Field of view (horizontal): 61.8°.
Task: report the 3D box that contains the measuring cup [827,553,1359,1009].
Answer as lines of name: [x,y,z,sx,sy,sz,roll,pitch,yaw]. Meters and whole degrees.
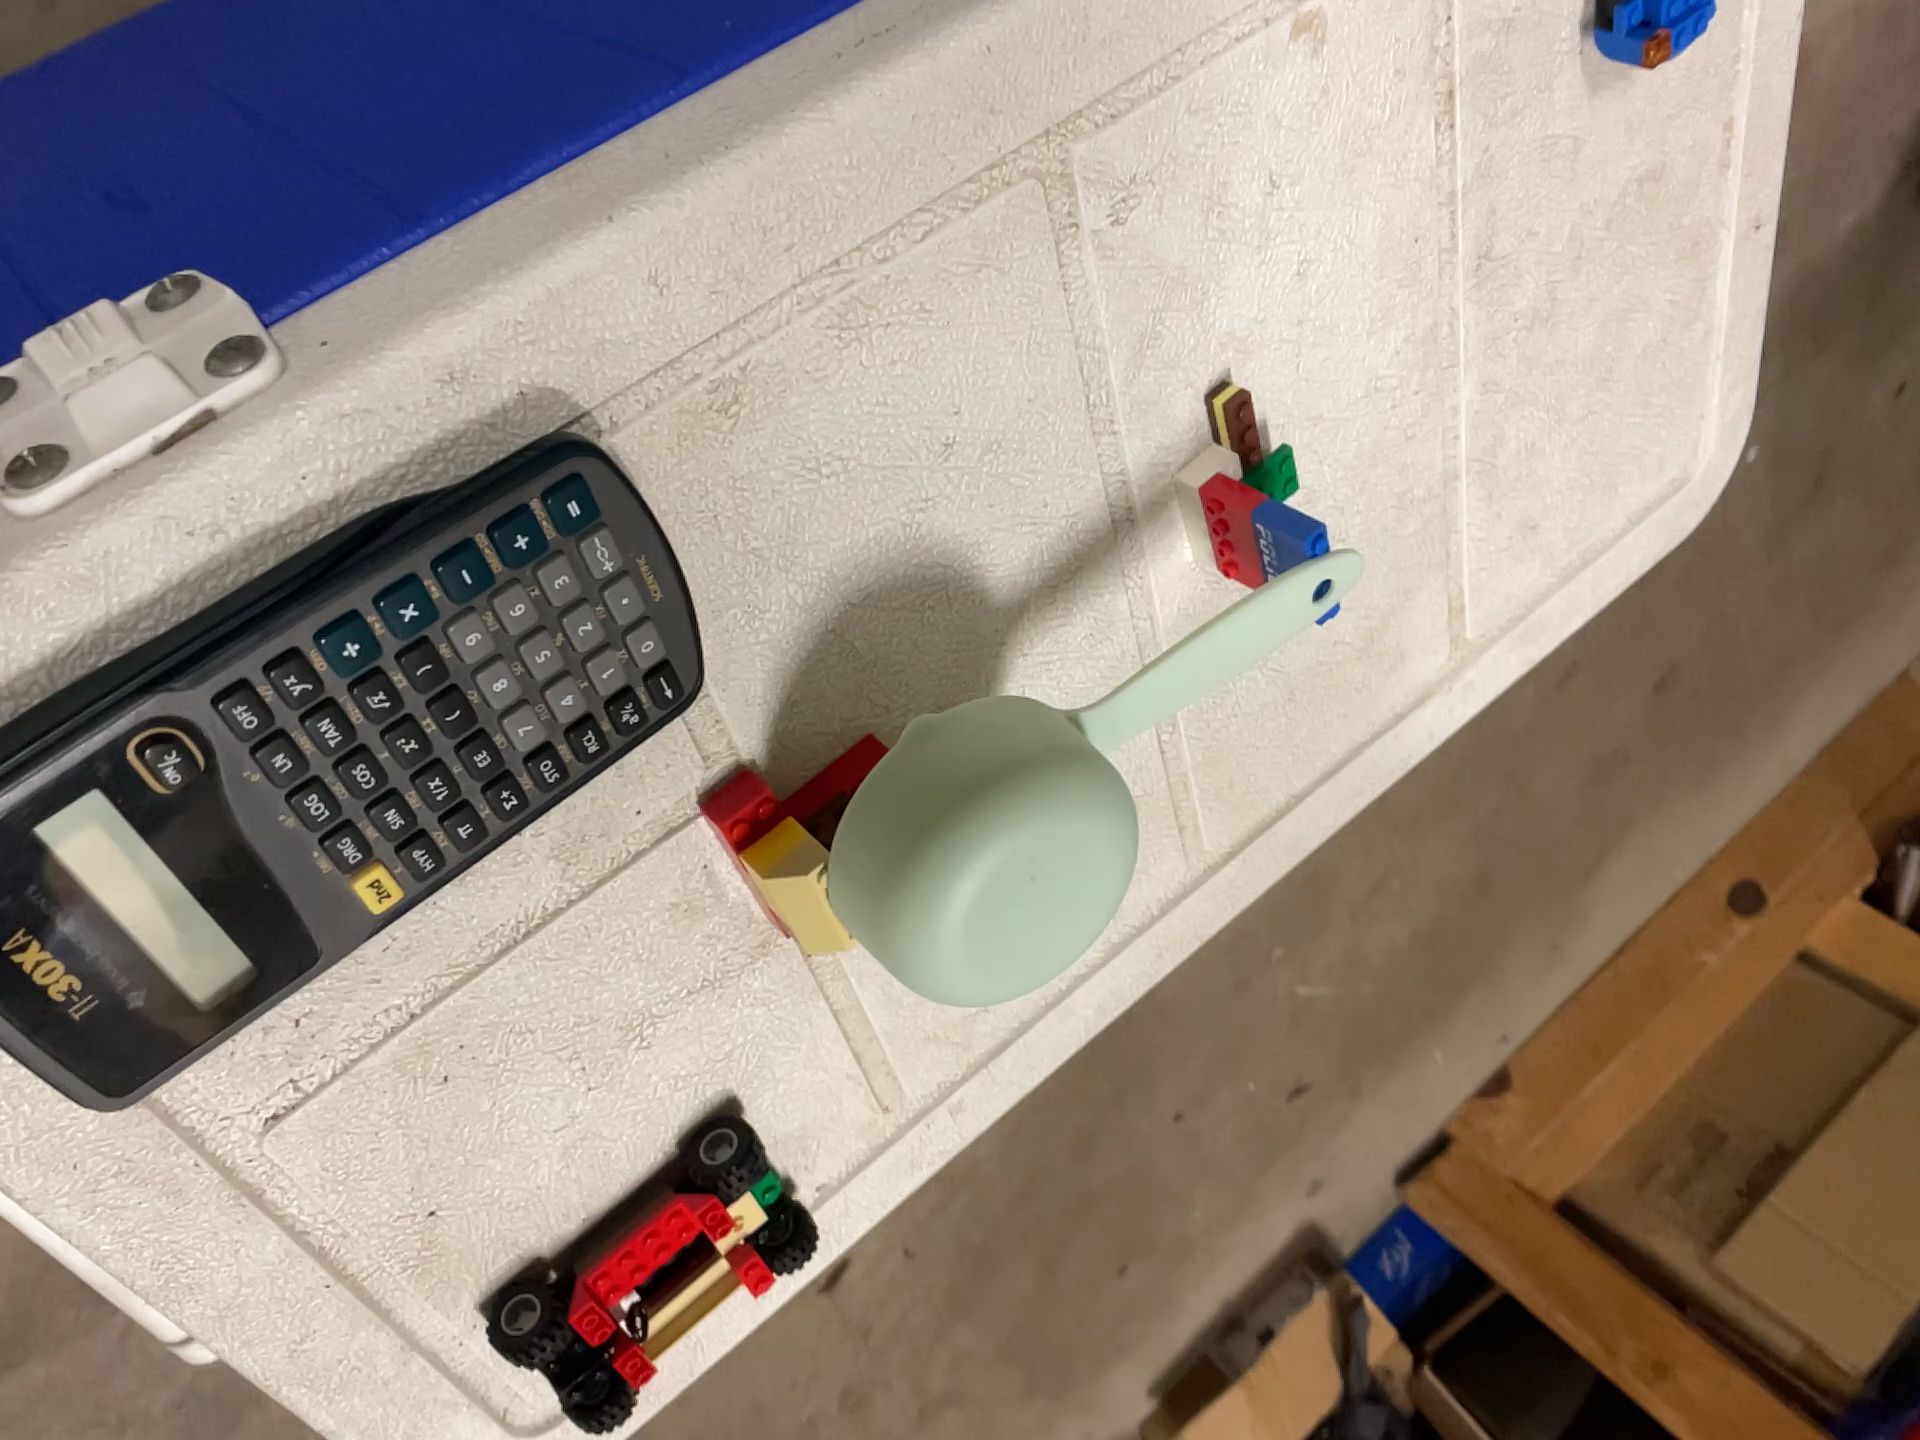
measuring cup: [0.046,0.011,0.401,0.167,0.038,0.083,-34,136,-12]
